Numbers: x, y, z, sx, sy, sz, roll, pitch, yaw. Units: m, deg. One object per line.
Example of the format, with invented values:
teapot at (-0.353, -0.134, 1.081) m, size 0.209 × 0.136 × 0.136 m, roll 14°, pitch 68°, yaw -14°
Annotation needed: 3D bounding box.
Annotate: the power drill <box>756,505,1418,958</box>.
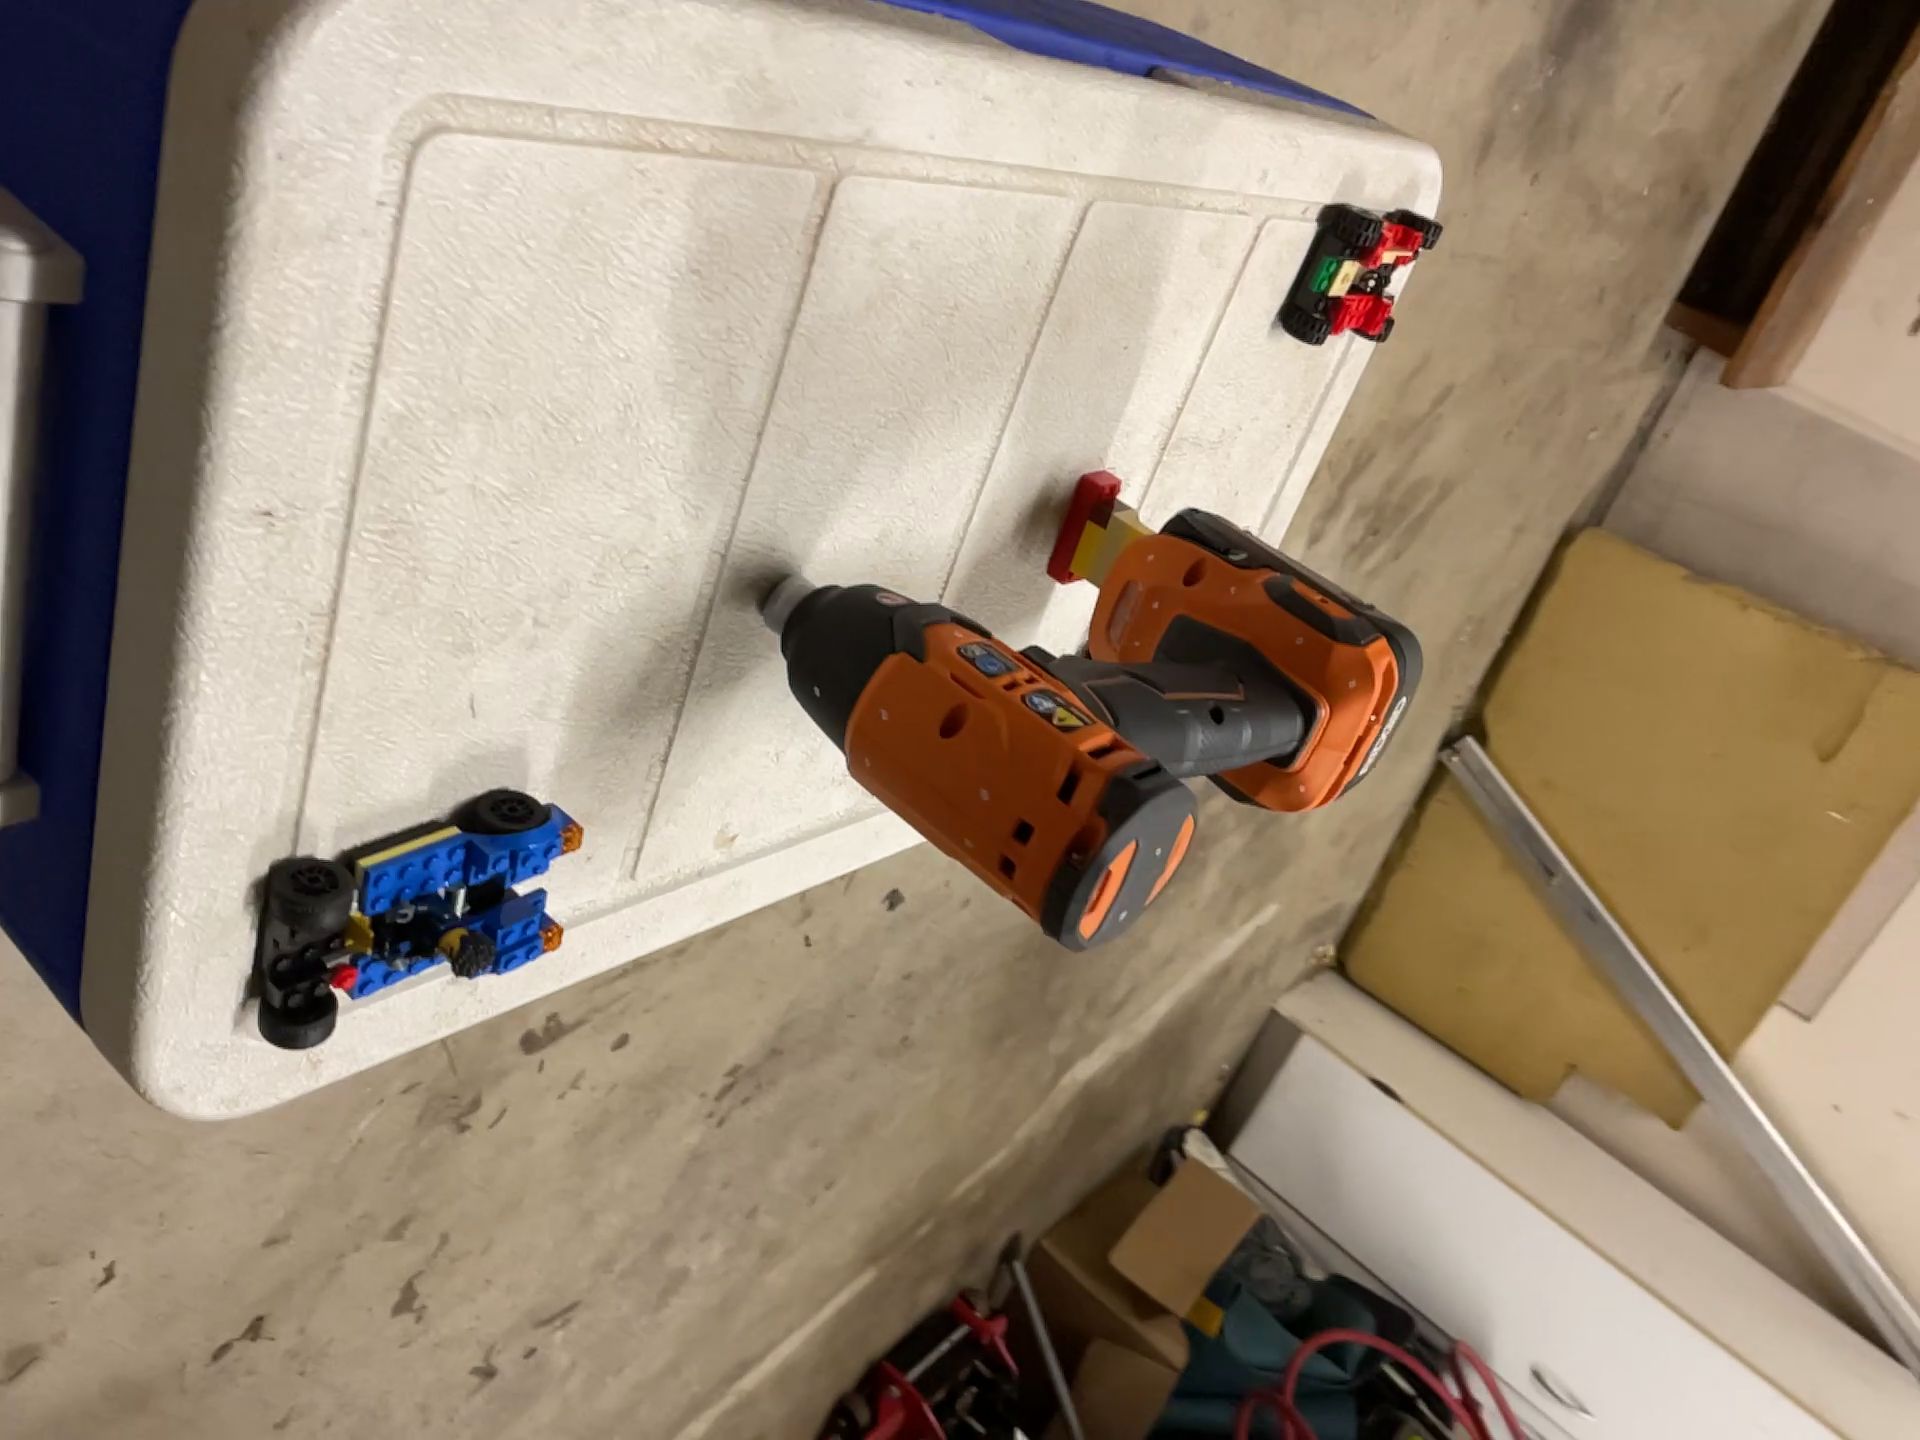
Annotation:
power drill at (0.046, -0.015, 0.558) m, size 0.226 × 0.164 × 0.084 m, roll -18°, pitch 138°, yaw -49°
